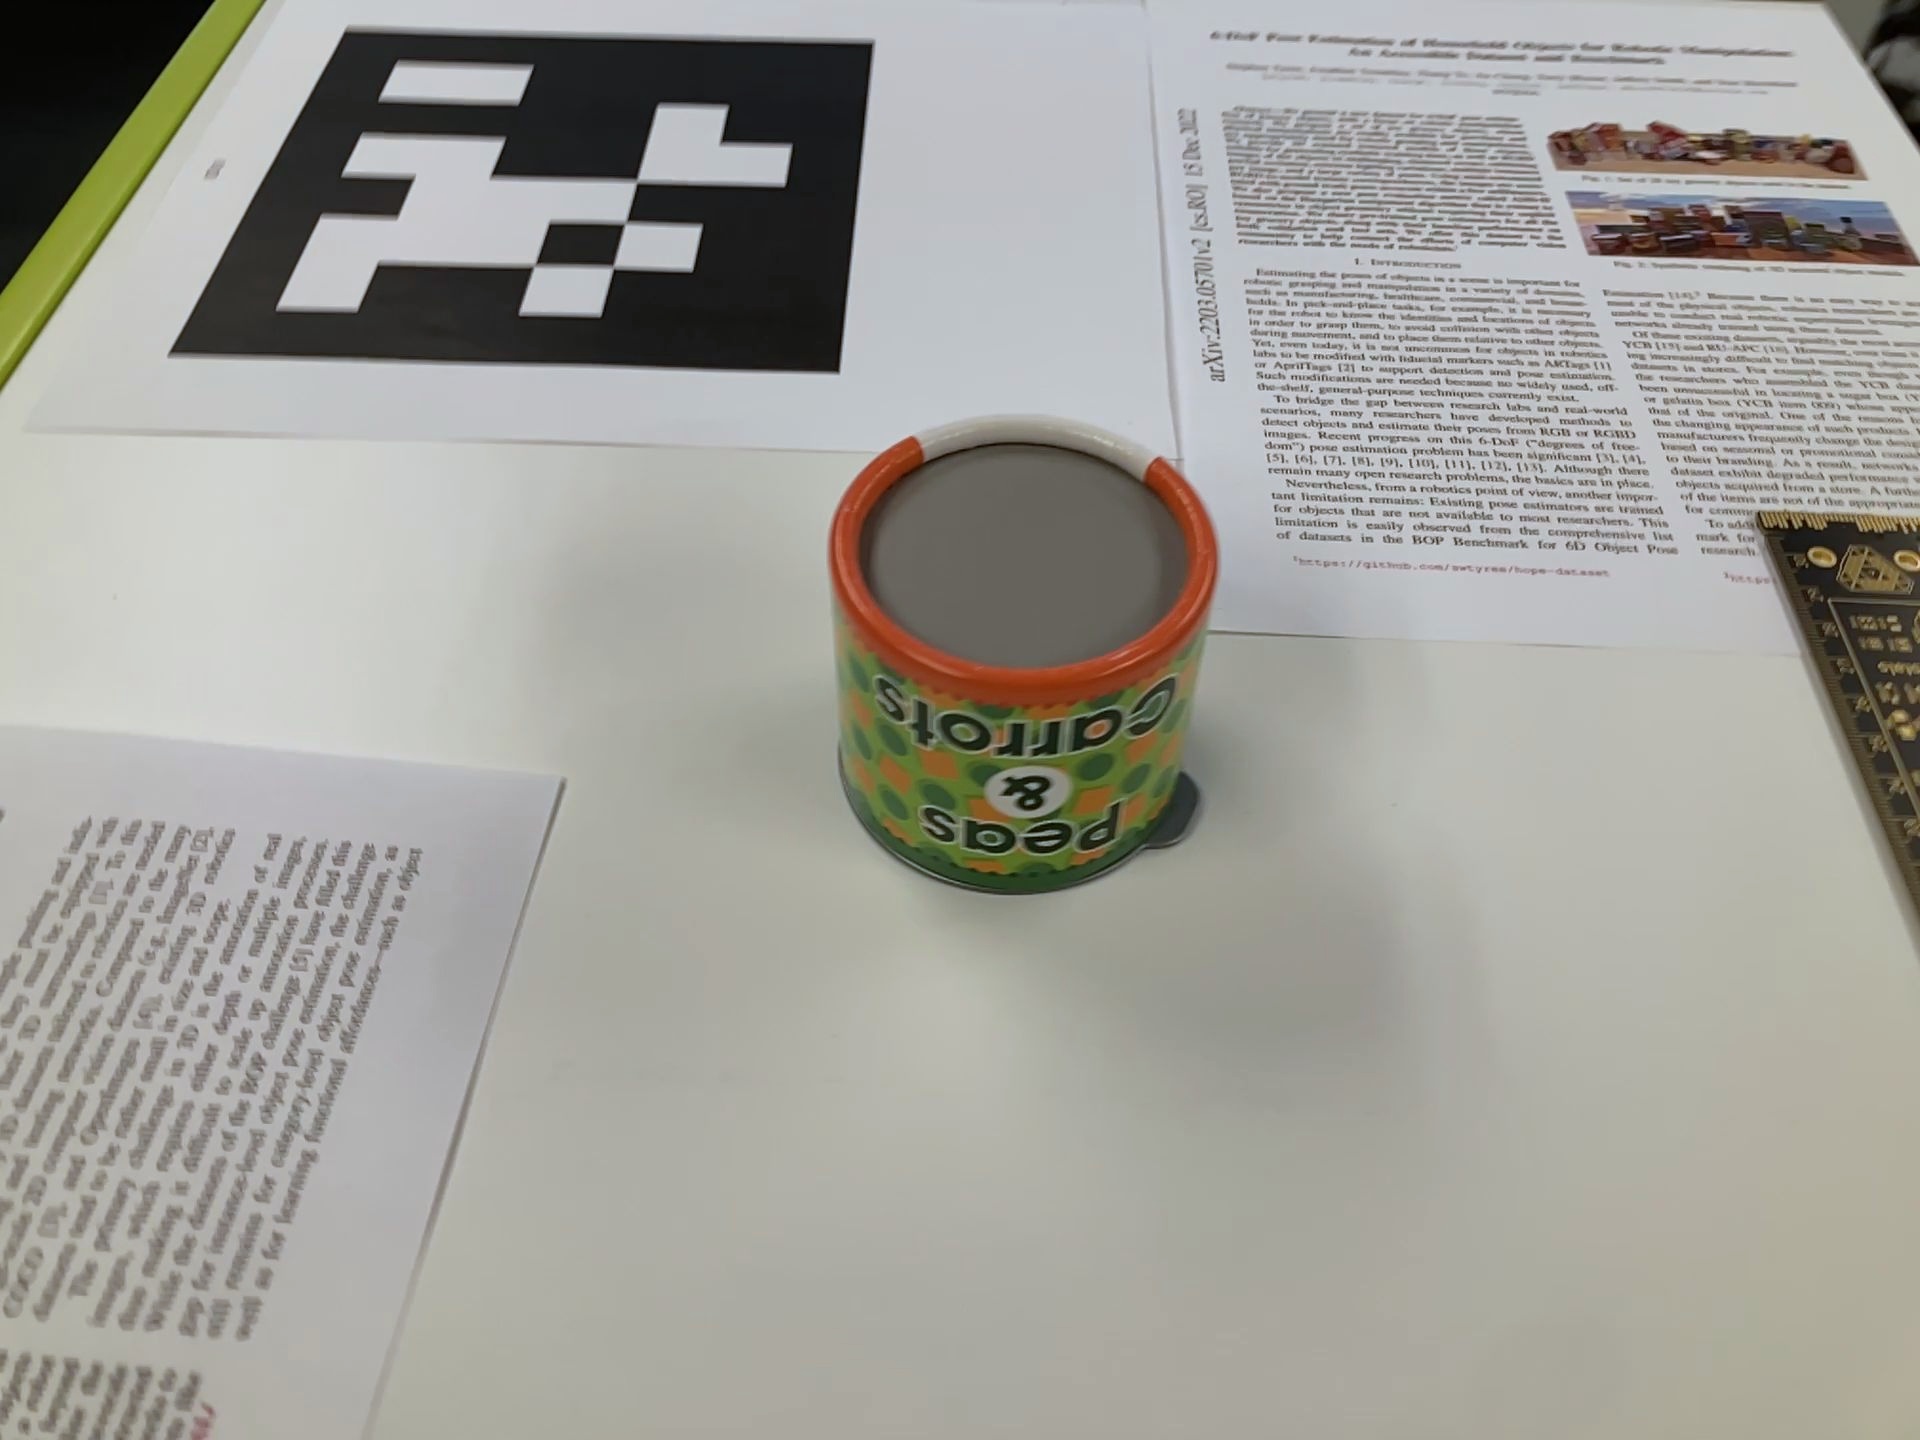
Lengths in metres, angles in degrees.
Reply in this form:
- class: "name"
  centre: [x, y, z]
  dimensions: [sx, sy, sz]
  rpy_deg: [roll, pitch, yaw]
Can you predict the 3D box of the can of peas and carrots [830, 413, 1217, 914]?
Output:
- class: "can of peas and carrots"
  centre: [0.010, -0.011, 0.286]
  dimensions: [0.071, 0.059, 0.071]
  rpy_deg: [0, 50, 0]
